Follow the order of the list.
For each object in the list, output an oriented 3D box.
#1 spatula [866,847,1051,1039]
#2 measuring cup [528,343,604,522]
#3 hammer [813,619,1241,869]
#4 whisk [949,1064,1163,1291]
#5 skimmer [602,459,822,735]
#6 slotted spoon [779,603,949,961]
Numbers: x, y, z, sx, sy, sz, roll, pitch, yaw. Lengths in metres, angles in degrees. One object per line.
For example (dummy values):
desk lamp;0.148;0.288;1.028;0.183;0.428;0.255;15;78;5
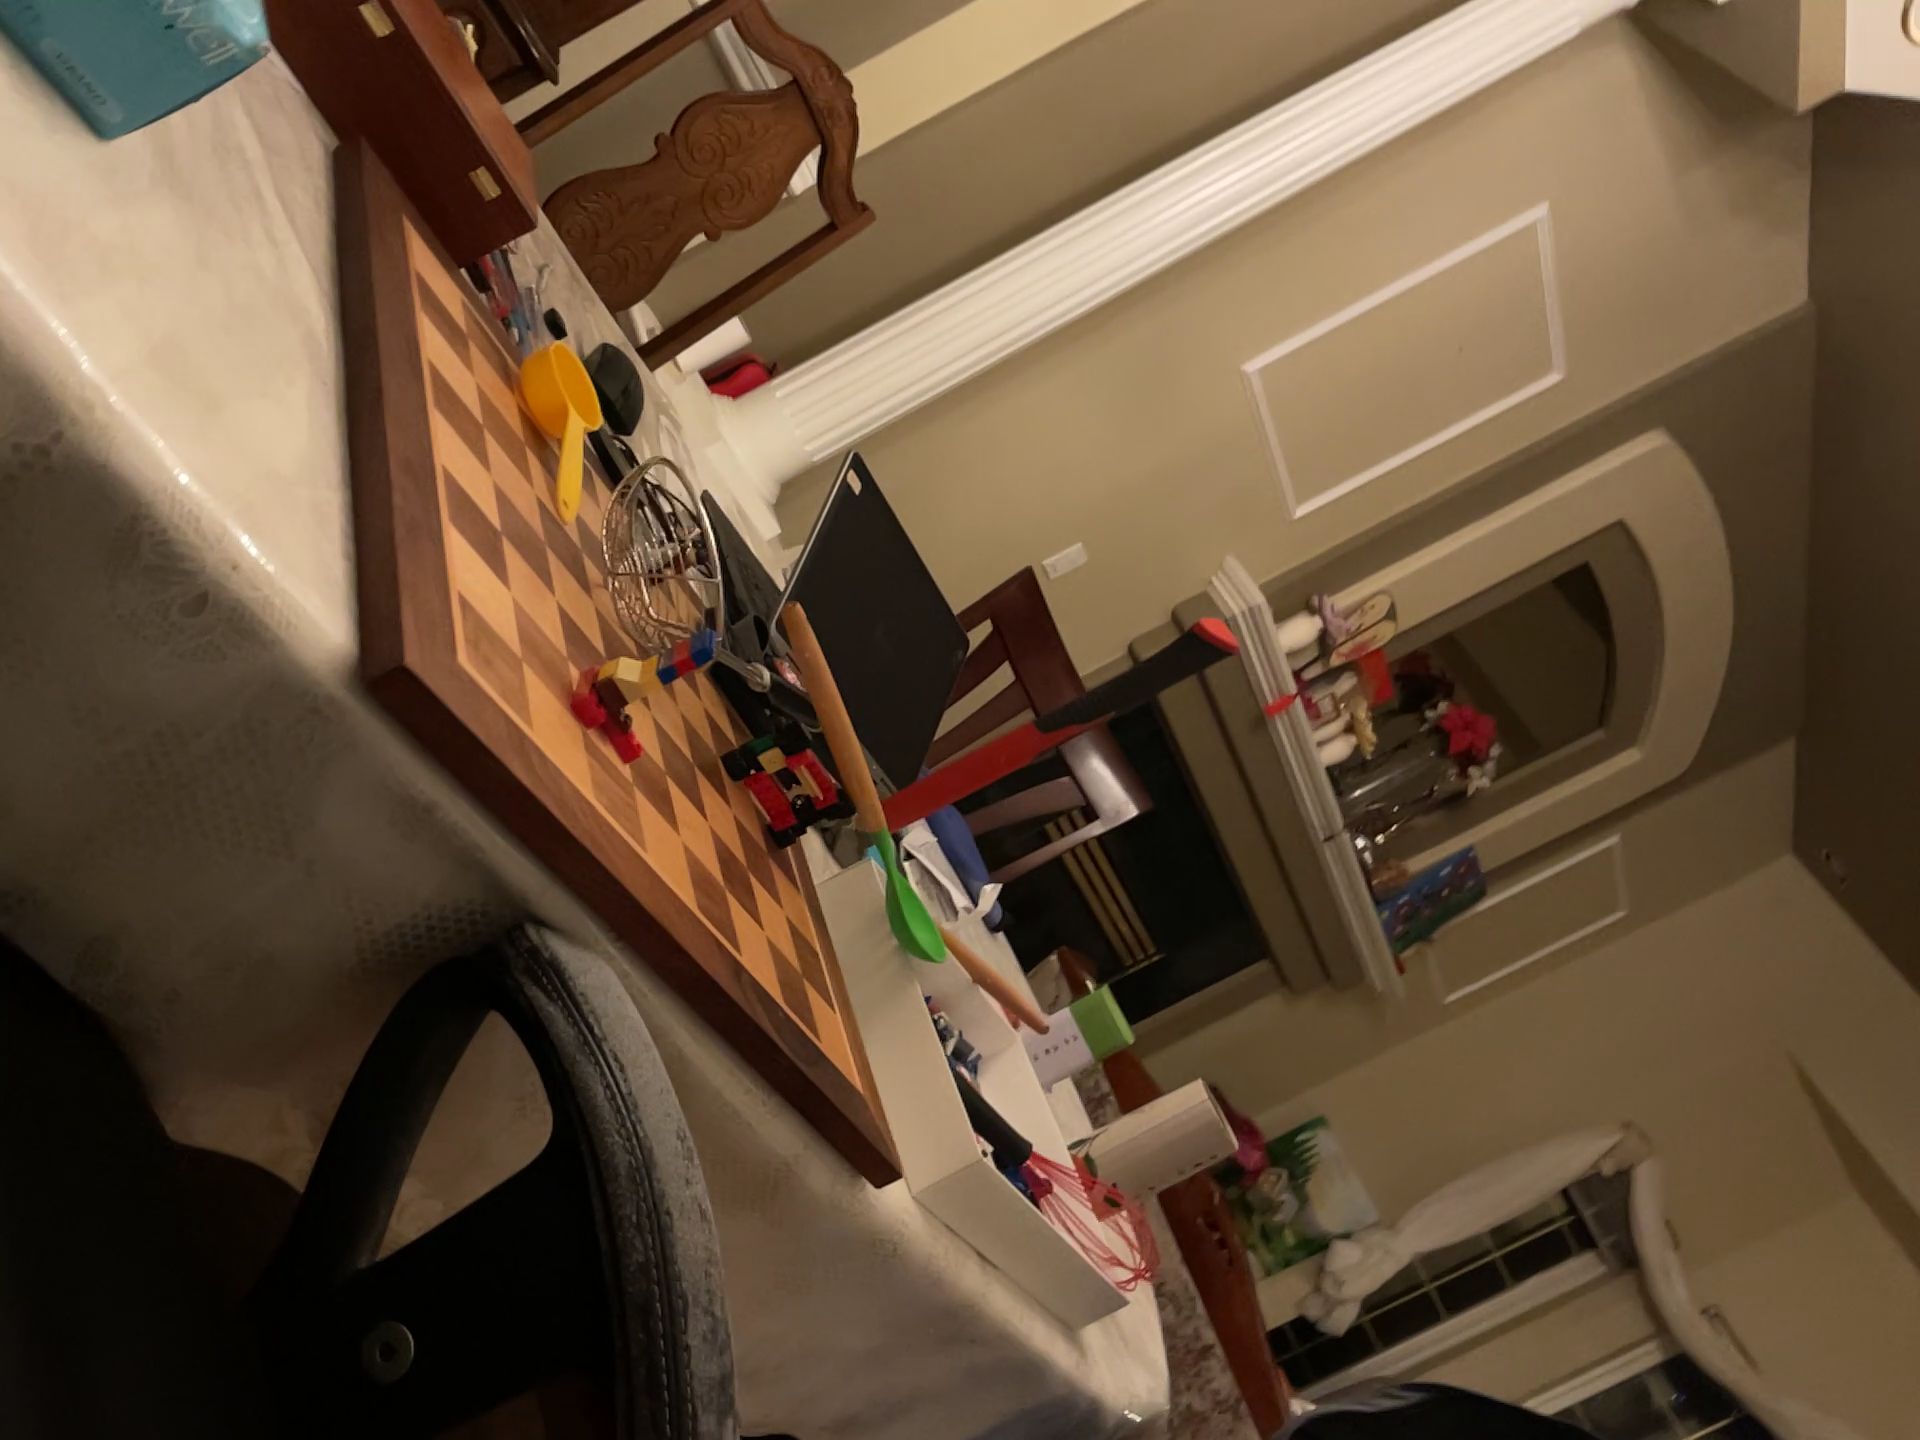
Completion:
spatula;-0.010;0.187;1.418;0.318;0.044;0.082;36;-19;46
measuring cup;-0.250;-0.173;0.986;0.062;0.029;0.157;63;15;-47
hammer;0.065;0.029;1.360;0.143;0.386;0.038;59;5;-43
whisk;0.061;0.356;1.255;0.295;0.073;0.073;46;-9;-19
skimmer;-0.135;-0.057;1.059;0.127;0.090;0.363;62;7;20
slotted spoon;-0.064;0.051;1.062;0.070;0.031;0.313;-109;180;-54
